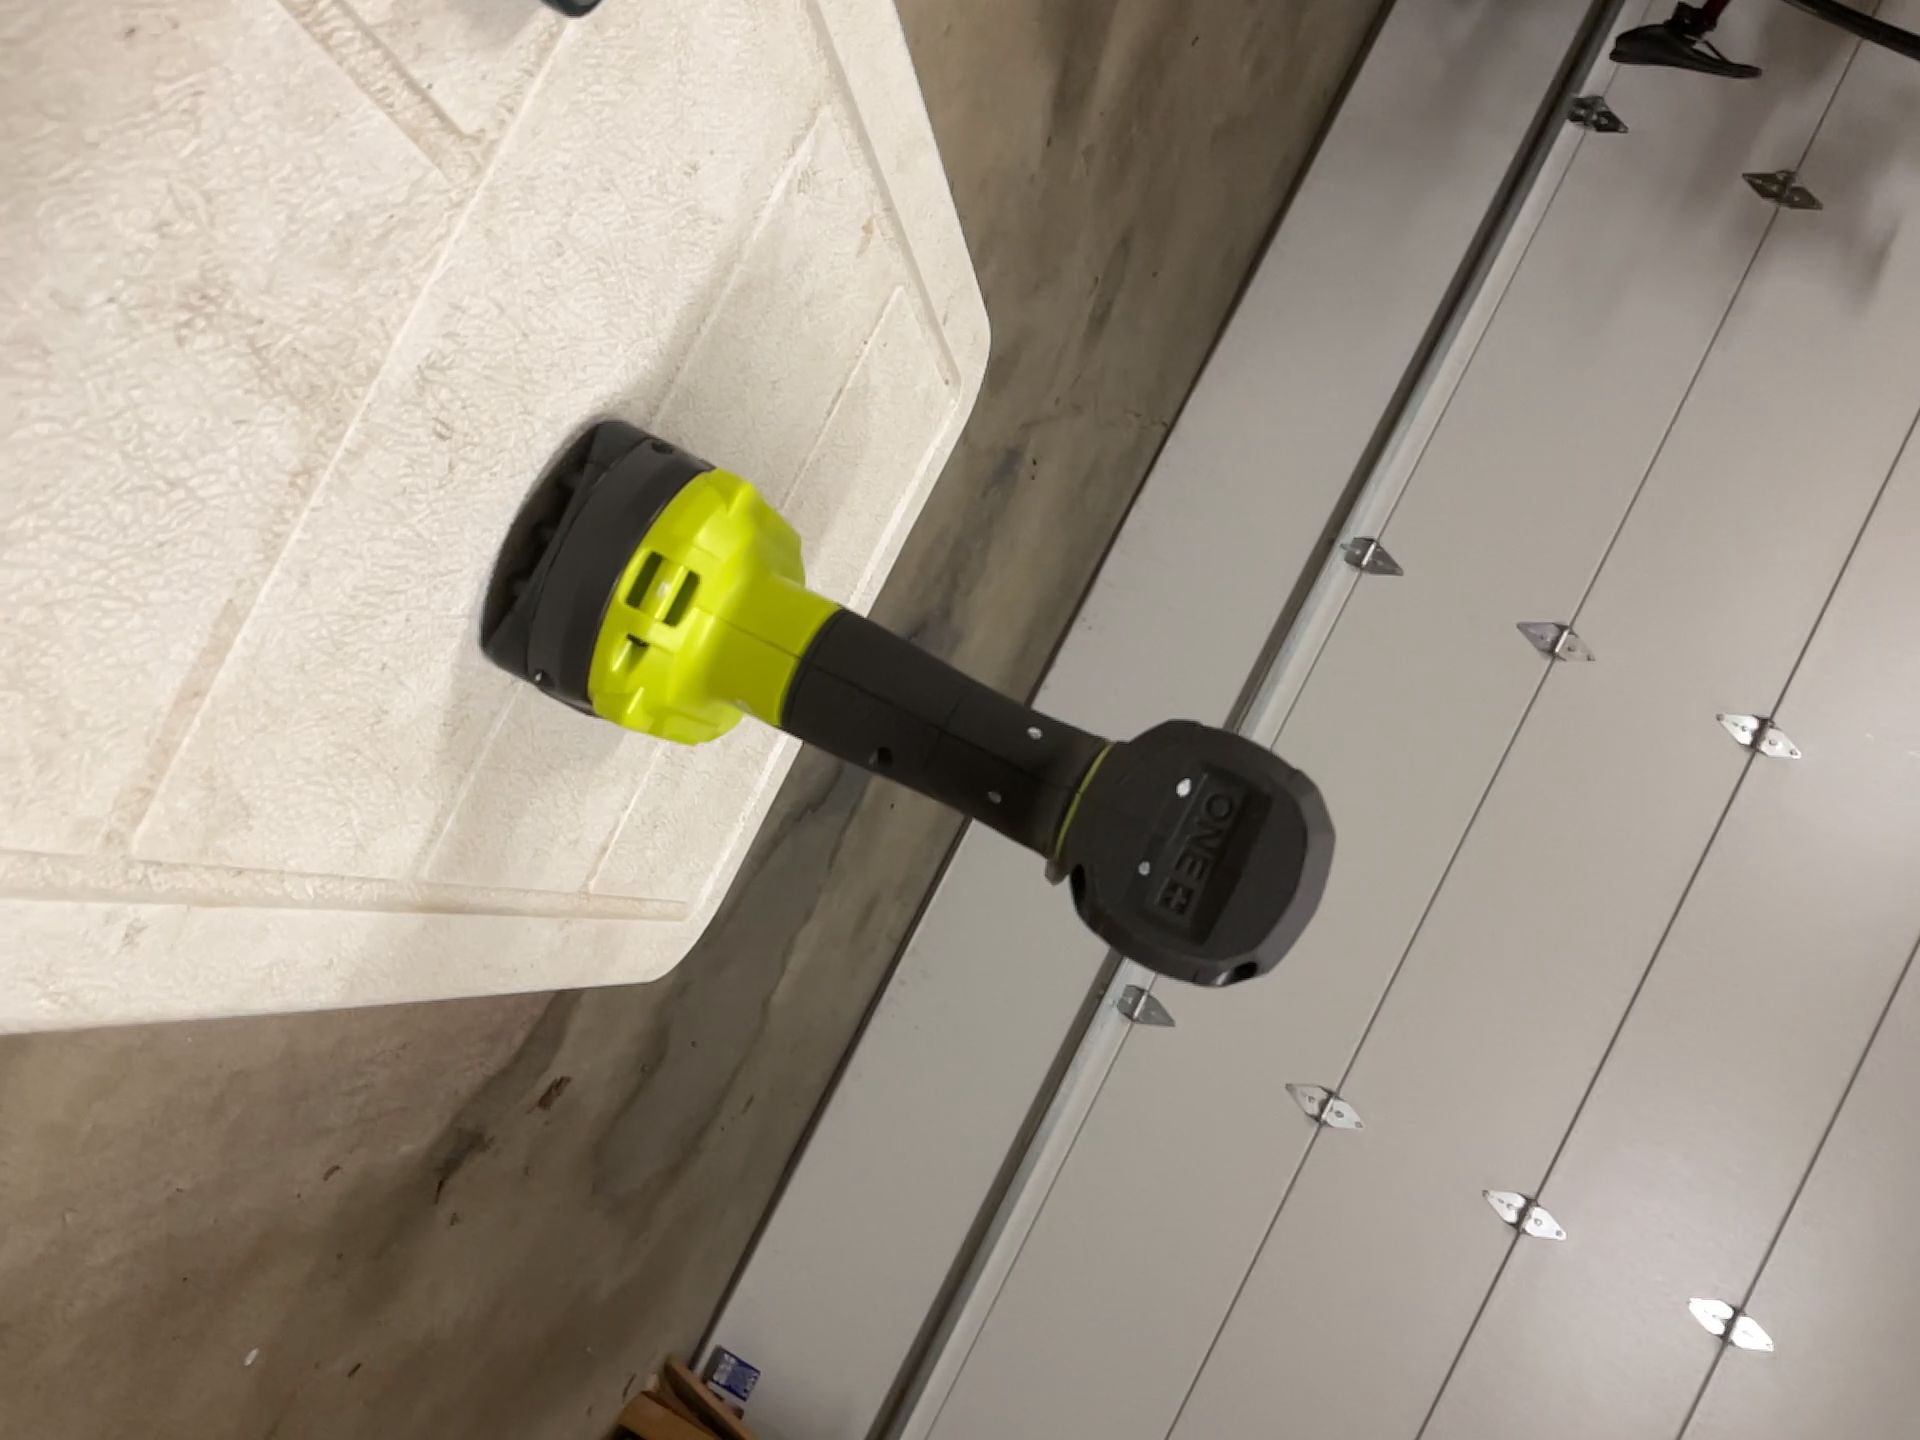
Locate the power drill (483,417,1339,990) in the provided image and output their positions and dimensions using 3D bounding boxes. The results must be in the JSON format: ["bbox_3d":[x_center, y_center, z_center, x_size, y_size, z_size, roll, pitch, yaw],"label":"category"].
[{"bbox_3d":[-0.004,0.006,0.472,0.080,0.228,0.190,-63,171,-3],"label":"power drill"}]
